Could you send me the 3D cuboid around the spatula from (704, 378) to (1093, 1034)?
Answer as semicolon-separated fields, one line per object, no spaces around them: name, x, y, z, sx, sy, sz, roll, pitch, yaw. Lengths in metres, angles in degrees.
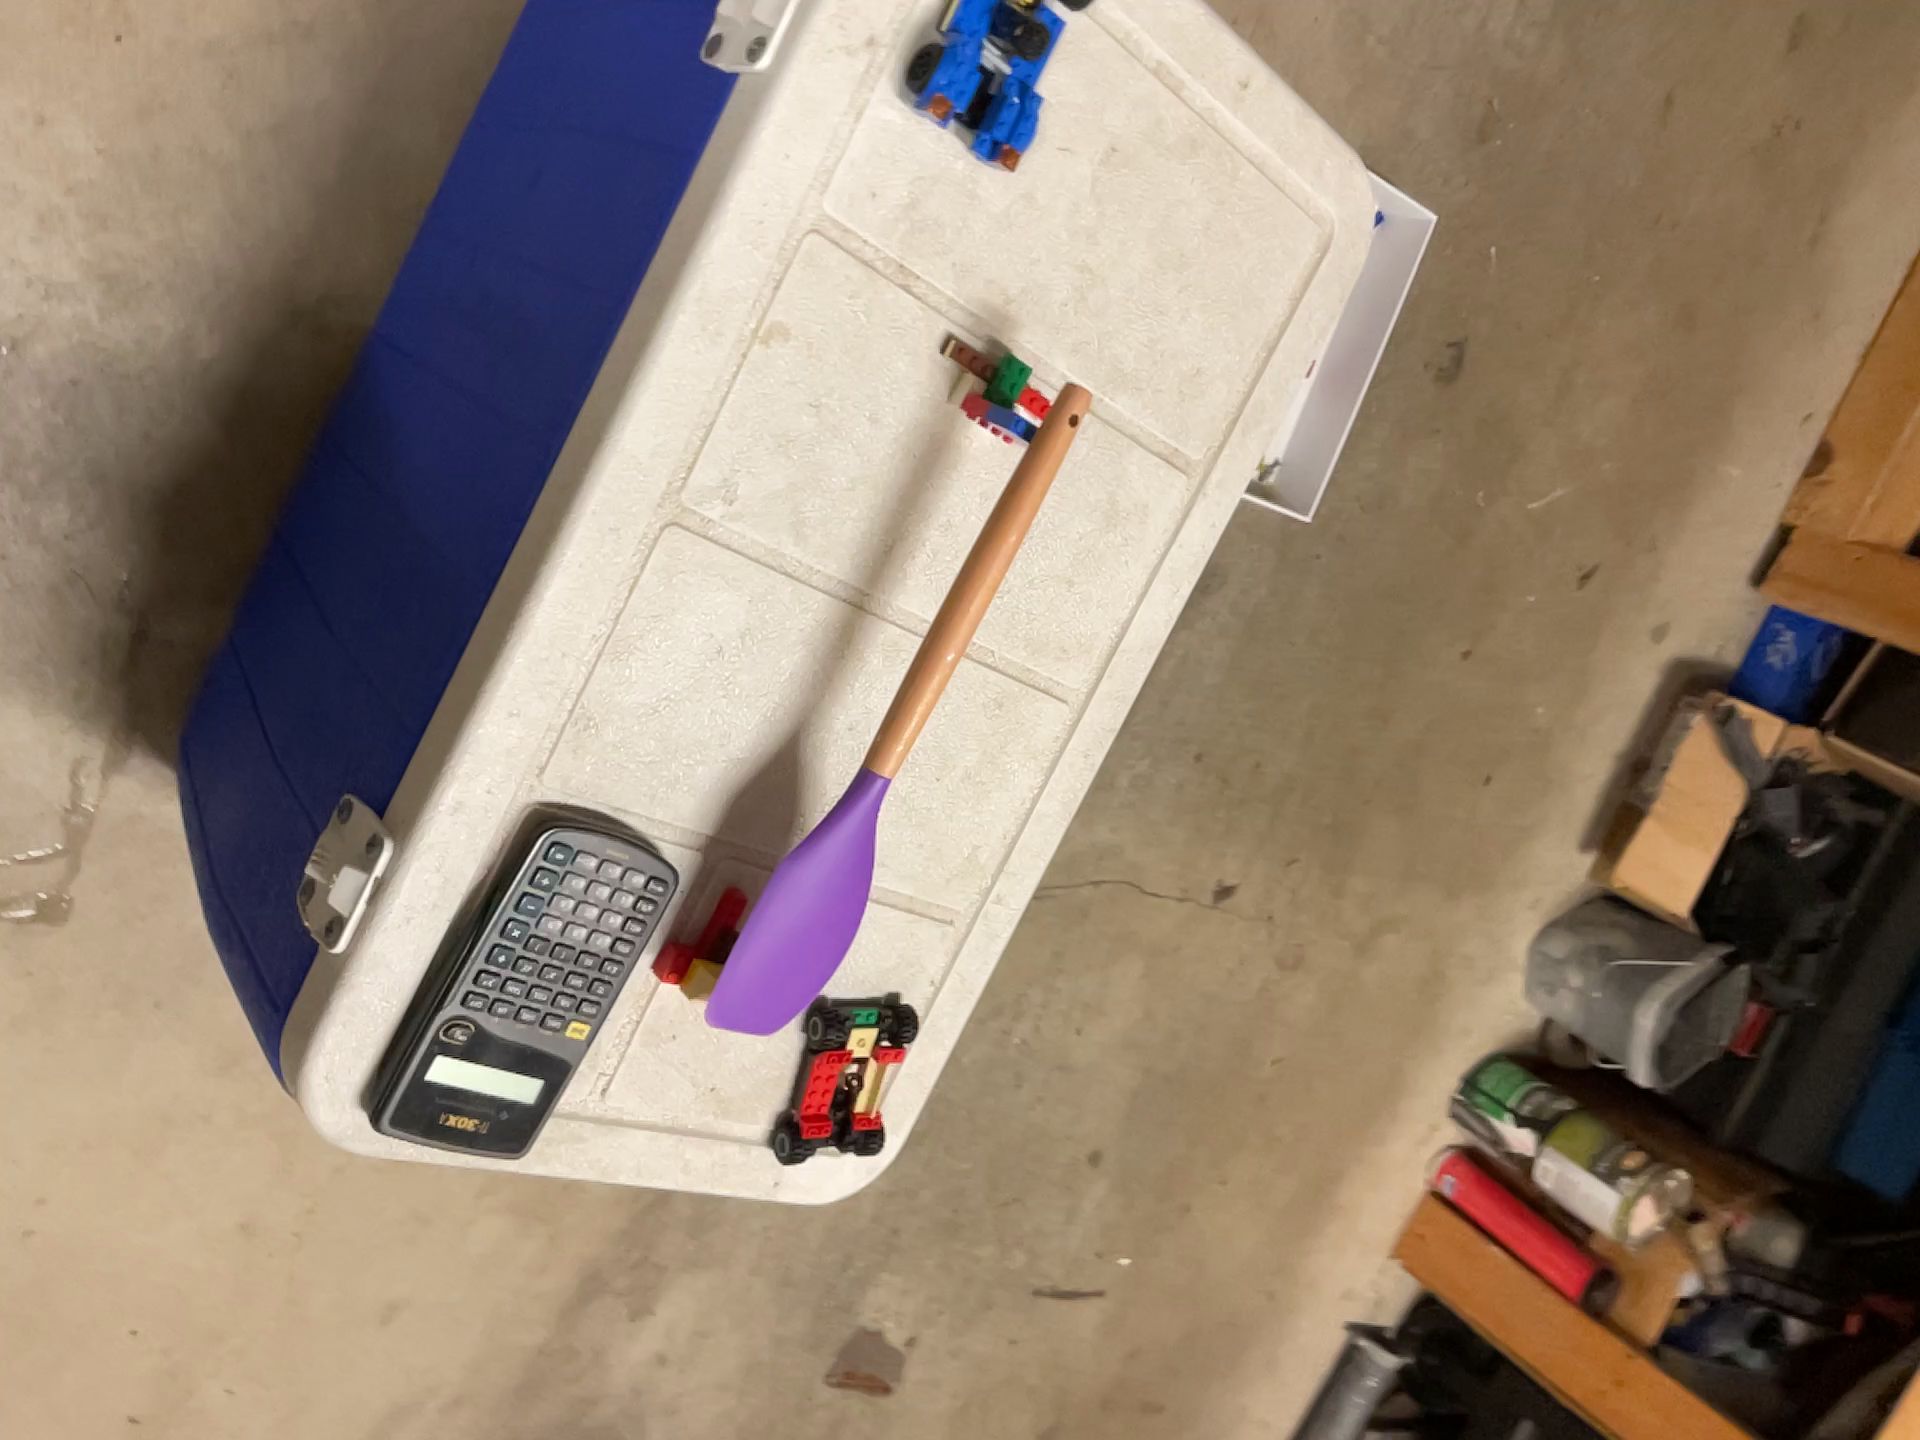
spatula;-0.022;-0.001;0.685;0.060;0.018;0.316;21;100;-41
